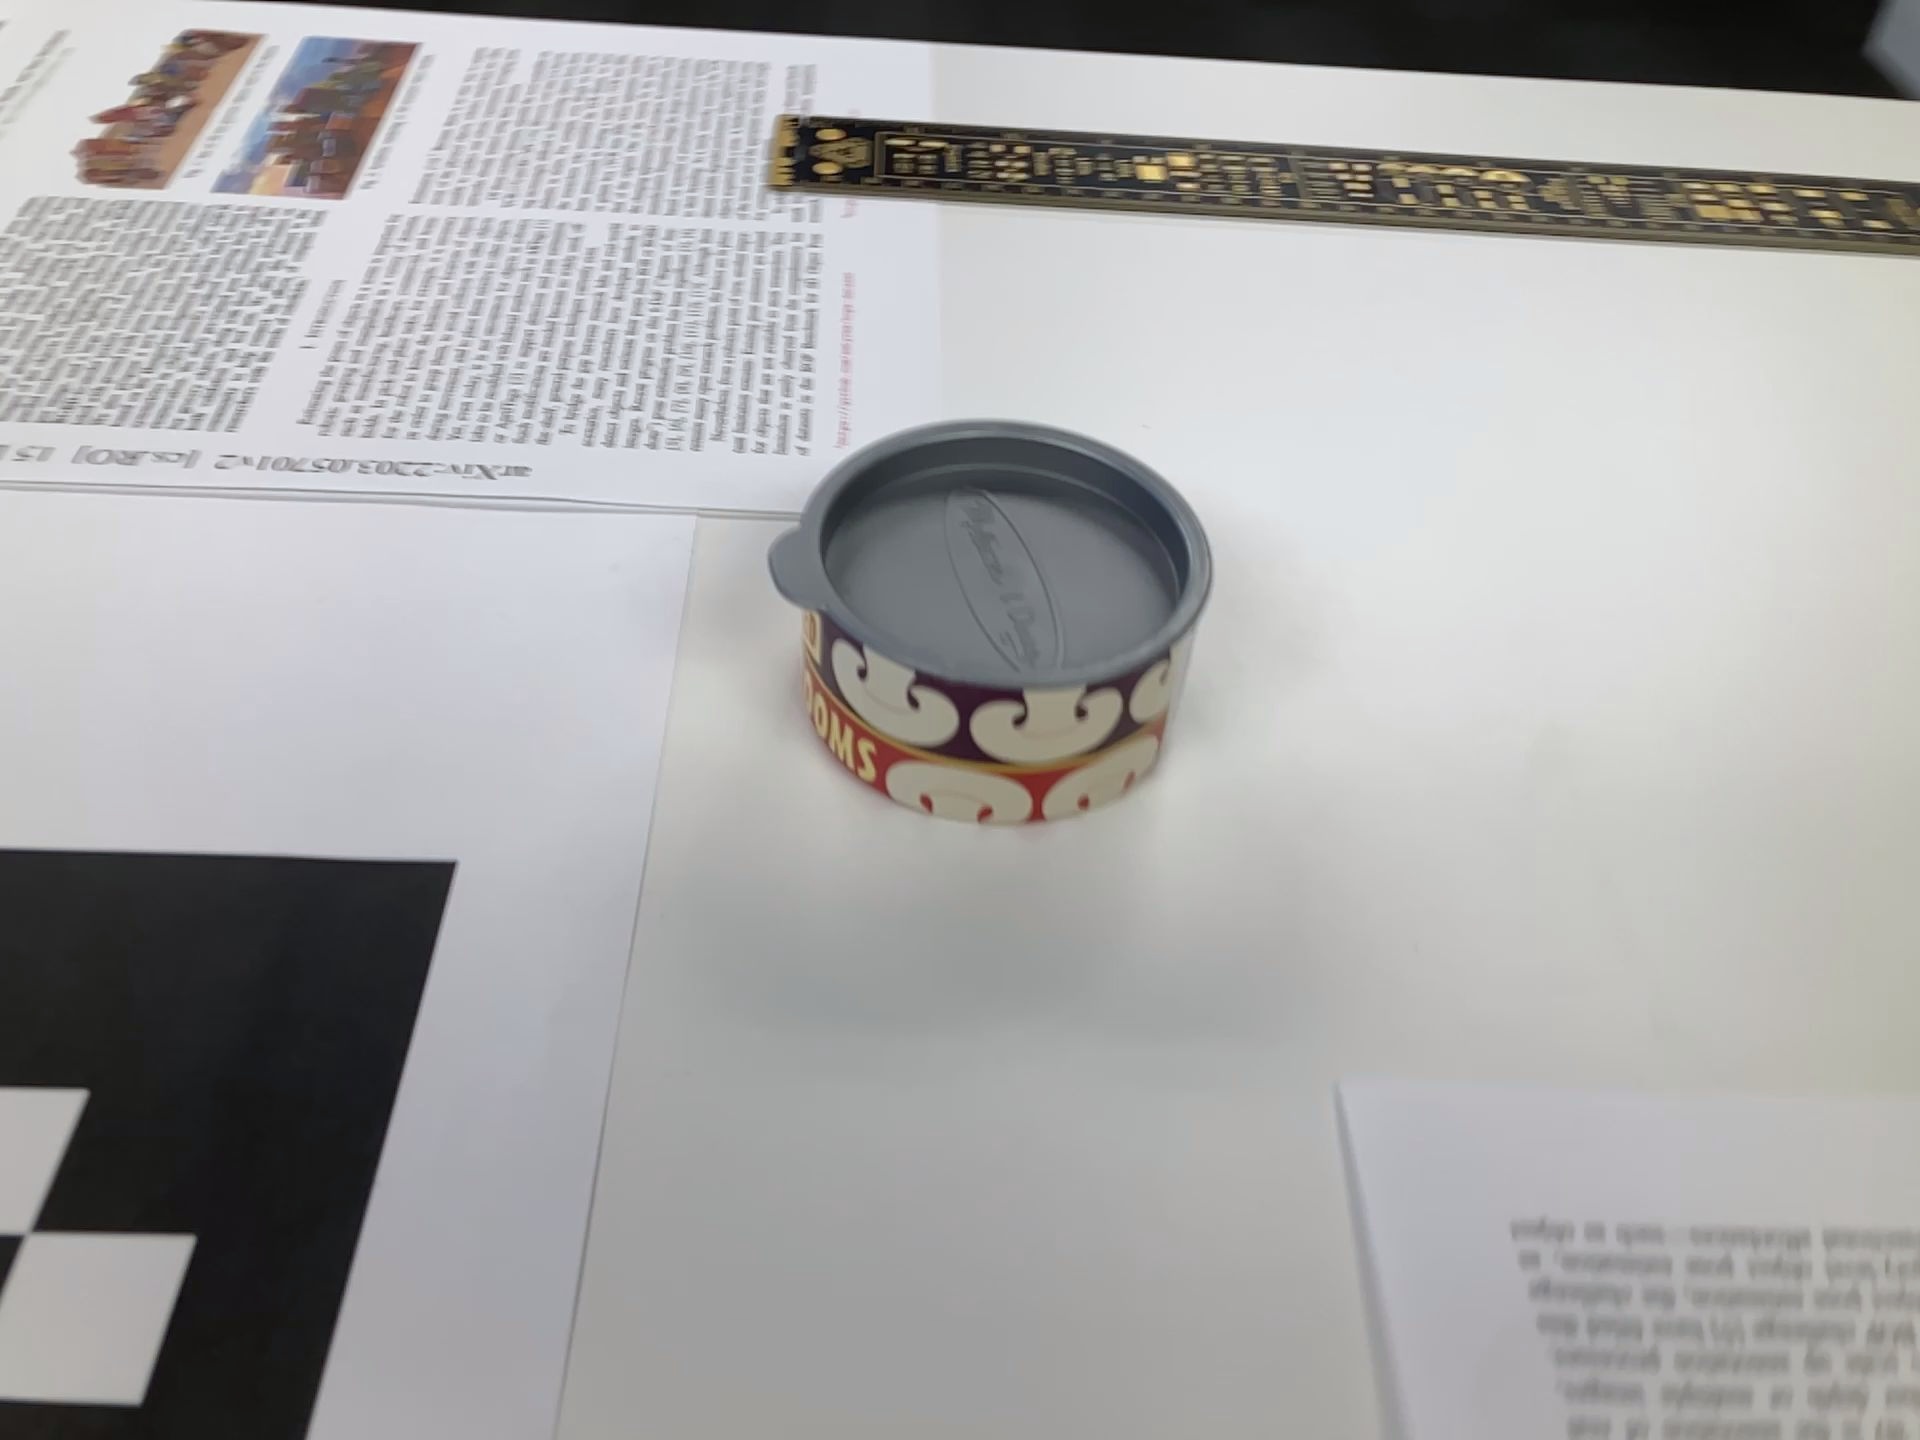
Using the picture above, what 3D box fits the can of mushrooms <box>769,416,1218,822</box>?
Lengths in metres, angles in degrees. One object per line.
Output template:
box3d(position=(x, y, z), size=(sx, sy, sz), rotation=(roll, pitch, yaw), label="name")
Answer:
box3d(position=(0.004, -0.018, 0.261), size=(0.071, 0.033, 0.071), rotation=(3, 46, -3), label="can of mushrooms")
